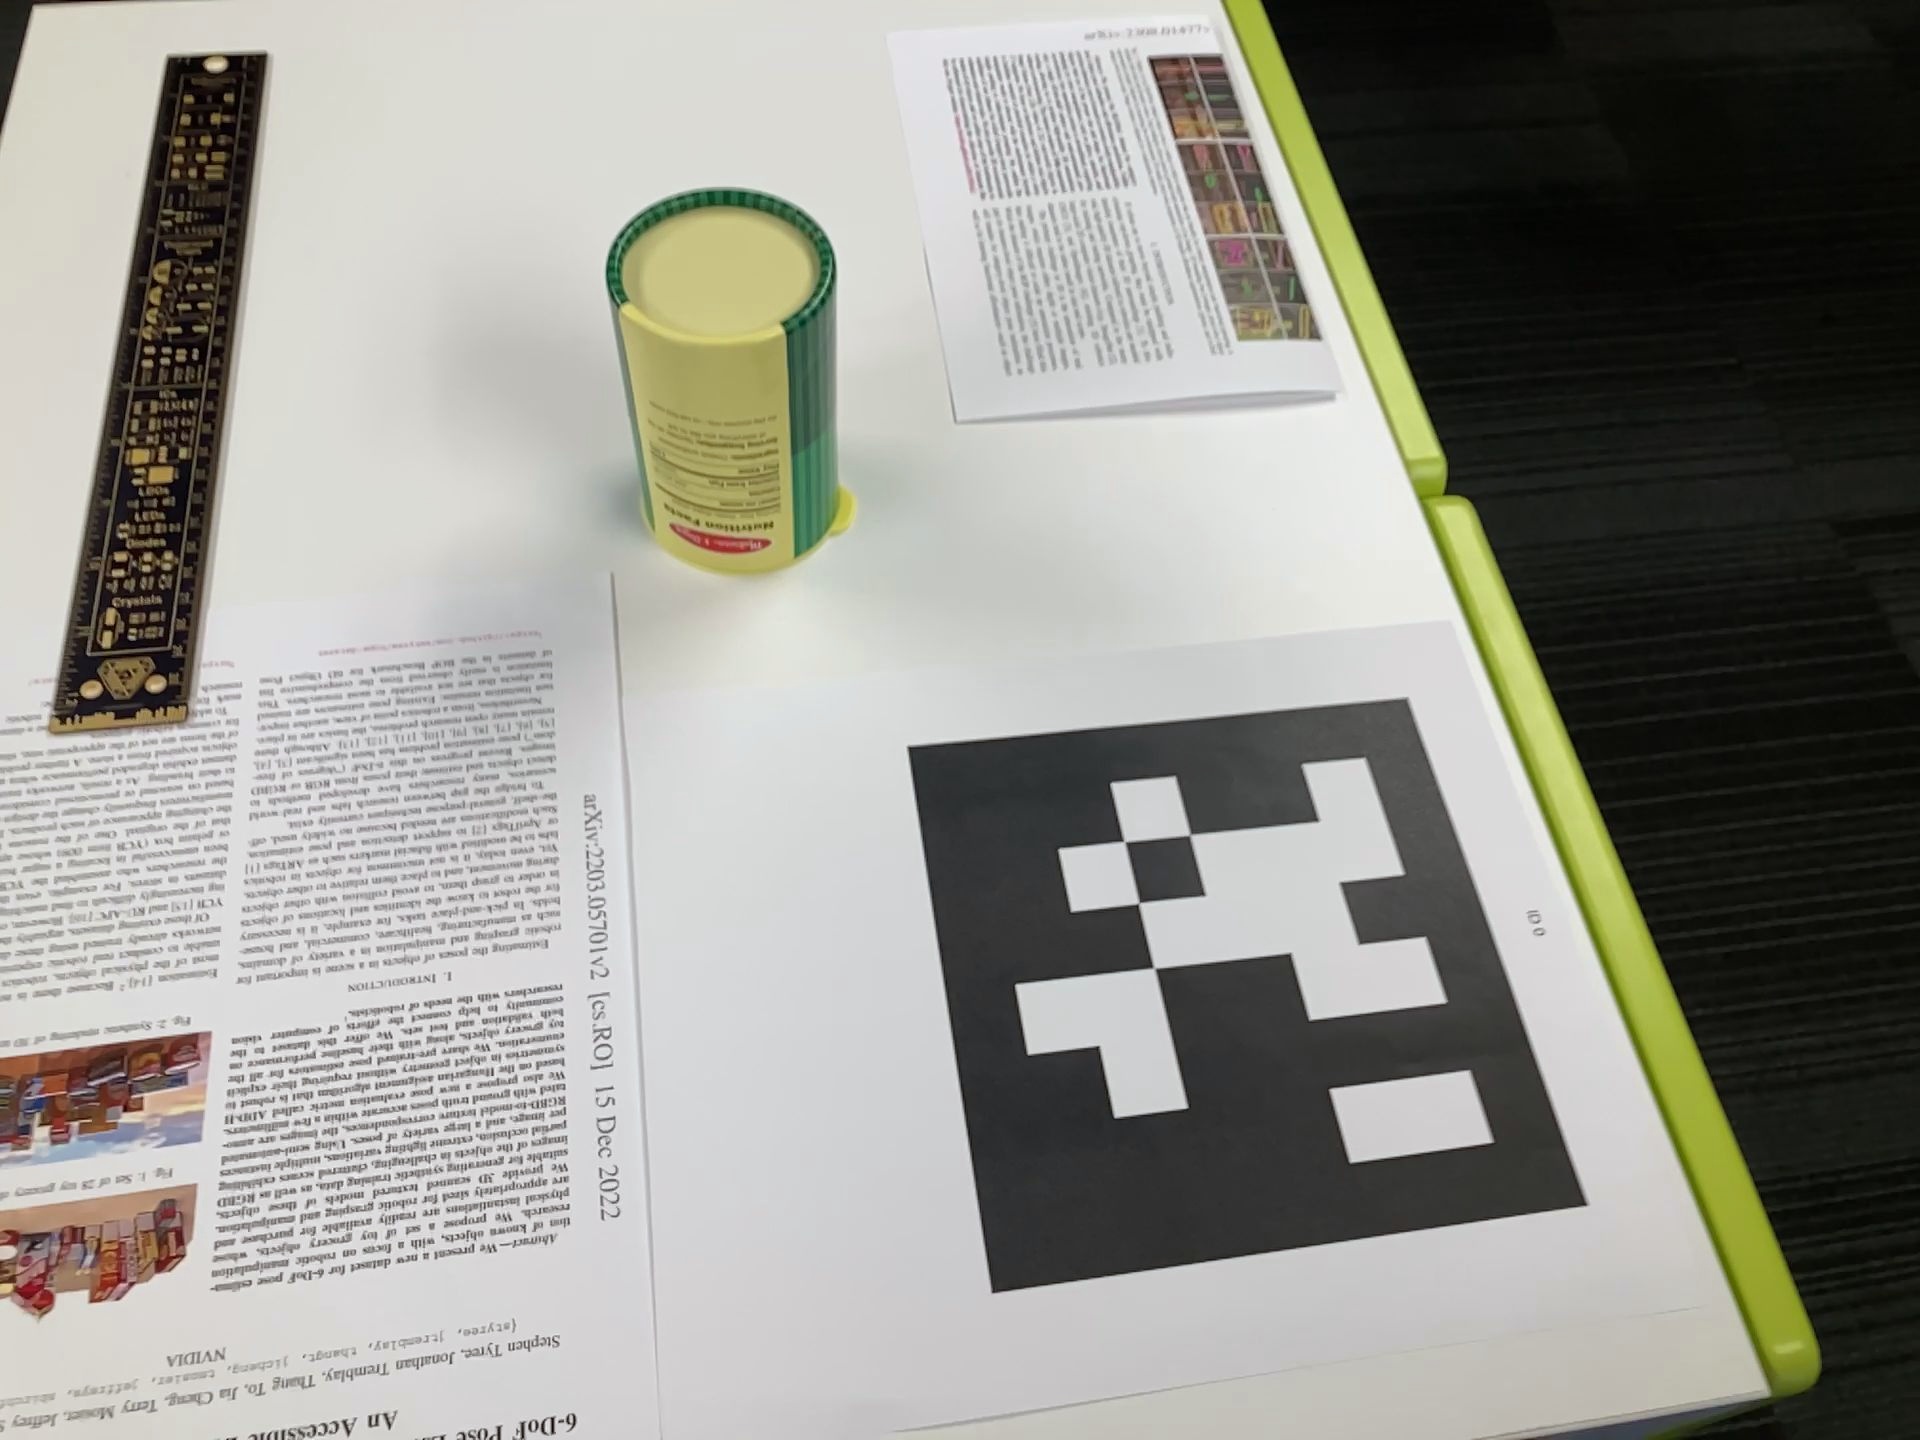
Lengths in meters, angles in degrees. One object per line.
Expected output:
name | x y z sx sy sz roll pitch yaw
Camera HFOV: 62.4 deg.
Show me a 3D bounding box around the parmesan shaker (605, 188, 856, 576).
parmesan shaker | -0.067 -0.101 0.487 0.071 0.103 0.071 2 58 -3
